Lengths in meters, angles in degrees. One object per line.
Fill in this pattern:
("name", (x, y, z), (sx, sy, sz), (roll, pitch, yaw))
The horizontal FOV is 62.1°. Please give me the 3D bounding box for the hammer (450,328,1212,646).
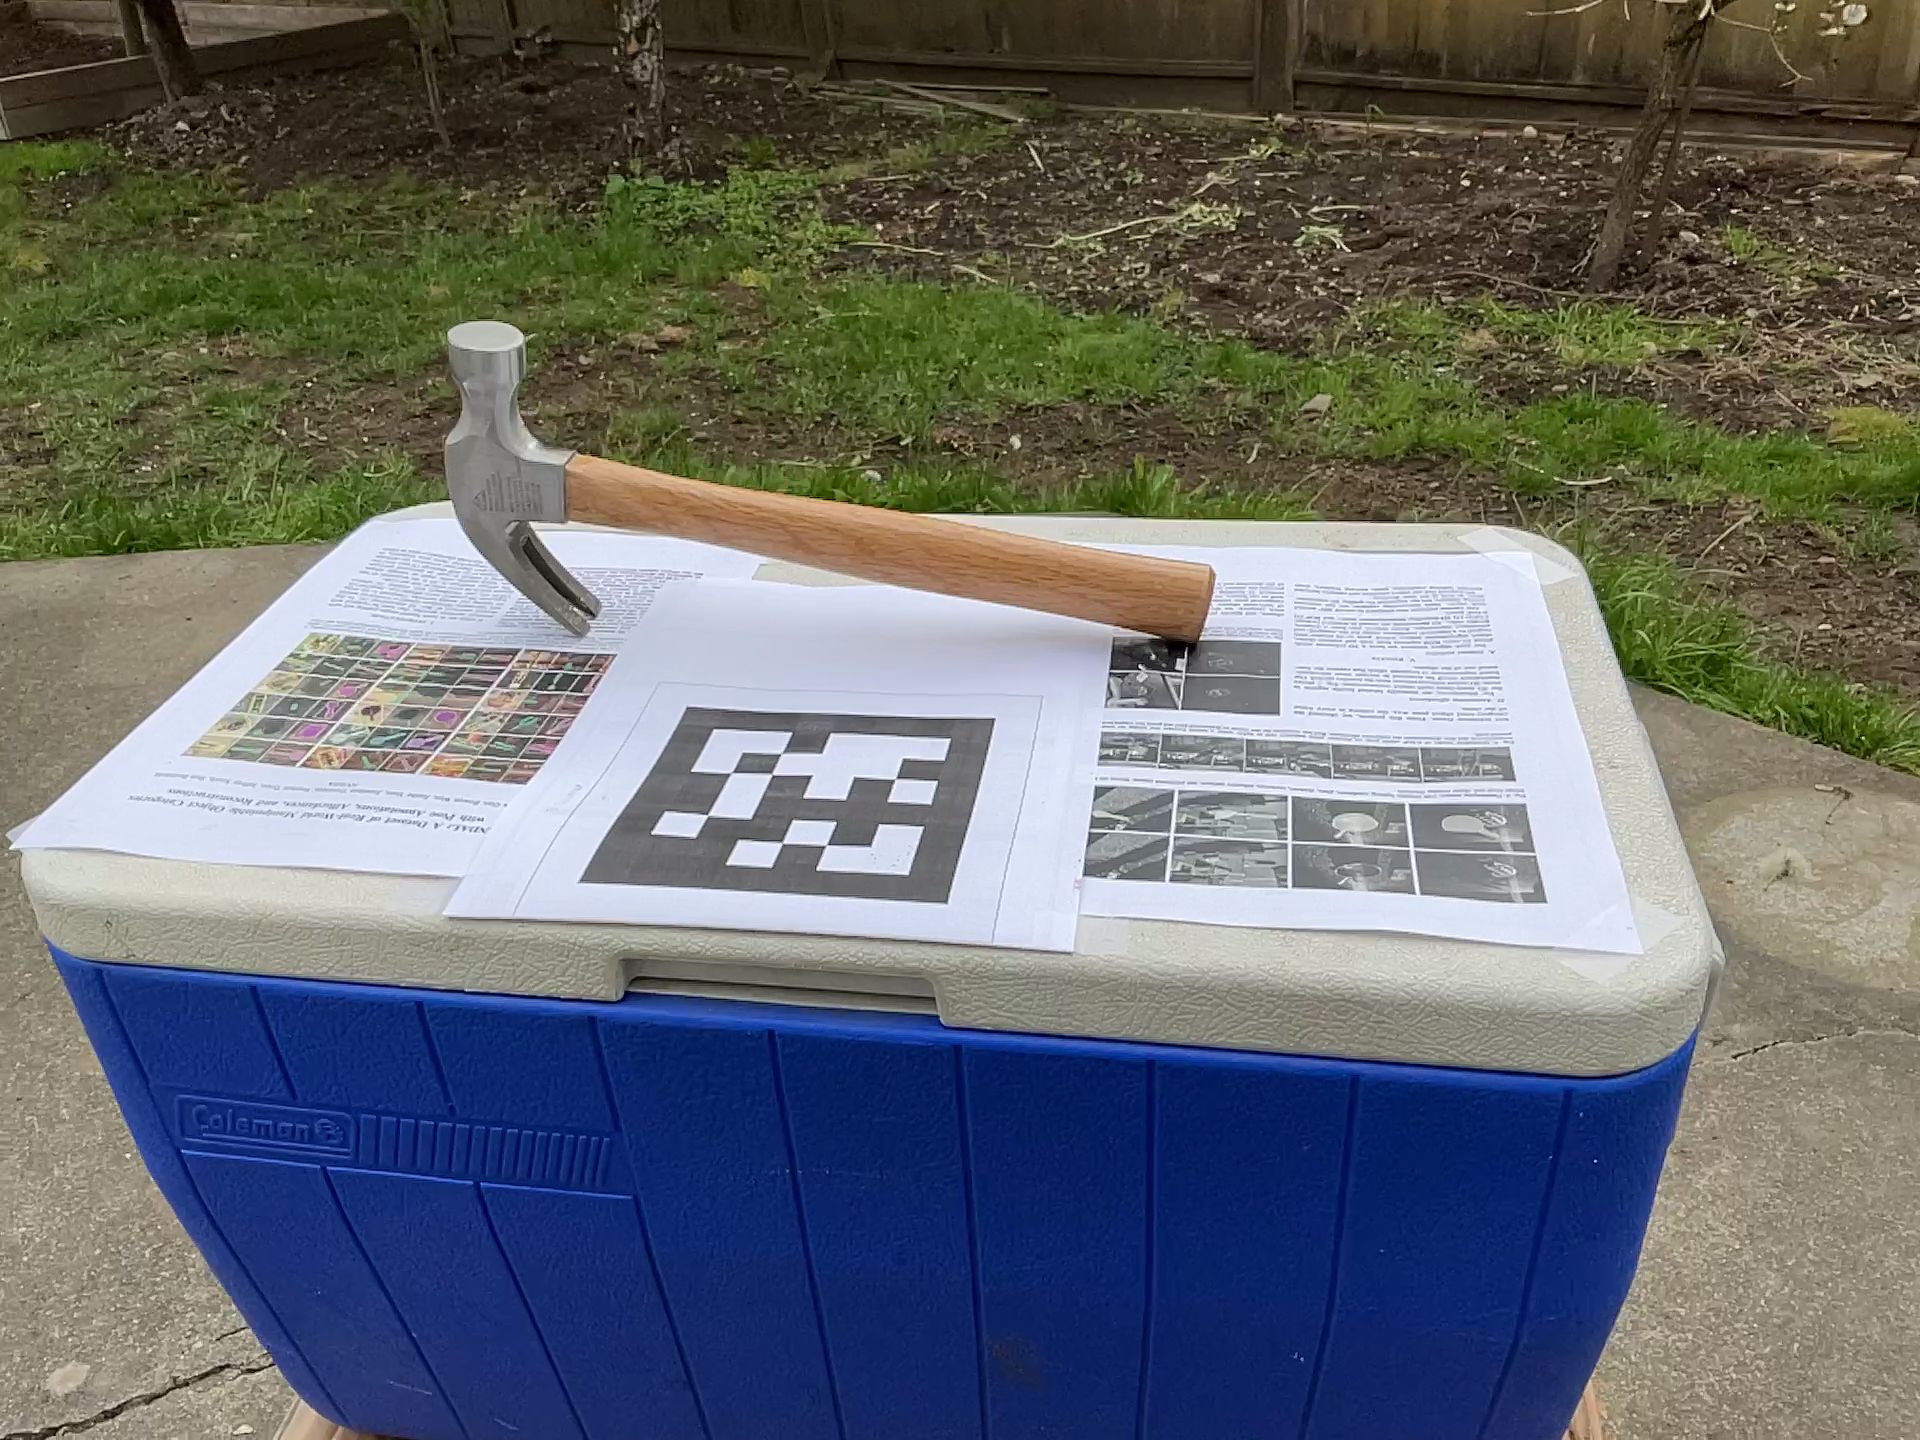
("hammer", (-0.058, -0.077, 0.694), (0.331, 0.130, 0.031), (11, 35, 3))
